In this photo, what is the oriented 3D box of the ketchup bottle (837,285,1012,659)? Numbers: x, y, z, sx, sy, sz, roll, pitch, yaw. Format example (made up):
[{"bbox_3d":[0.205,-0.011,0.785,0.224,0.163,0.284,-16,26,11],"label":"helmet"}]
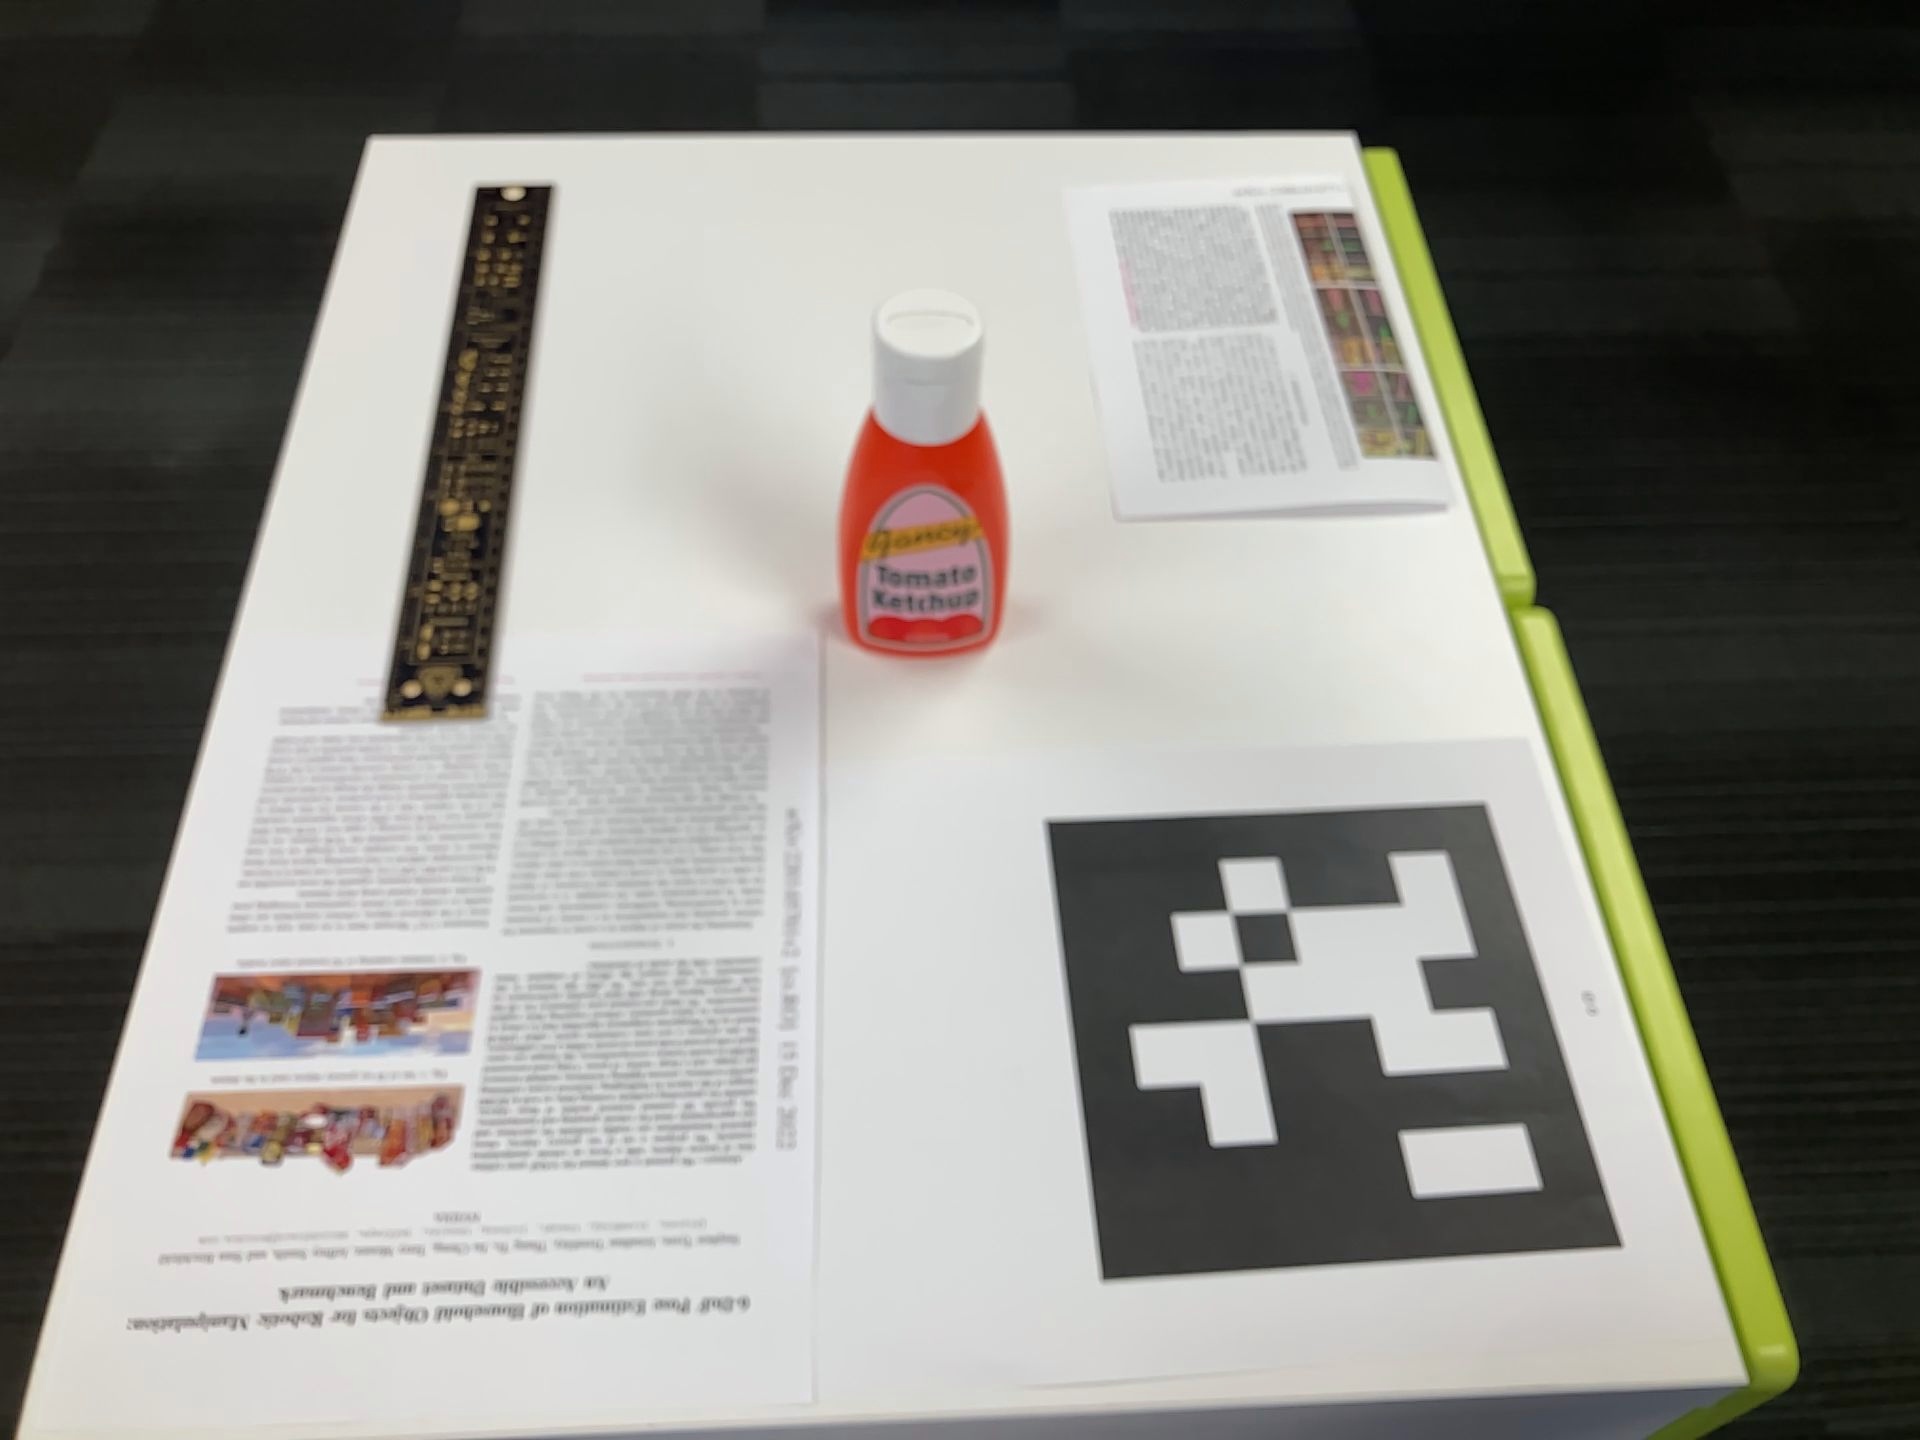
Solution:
[{"bbox_3d":[-0.012,-0.084,0.568,0.065,0.149,0.043,-1,53,-3],"label":"ketchup bottle"}]
